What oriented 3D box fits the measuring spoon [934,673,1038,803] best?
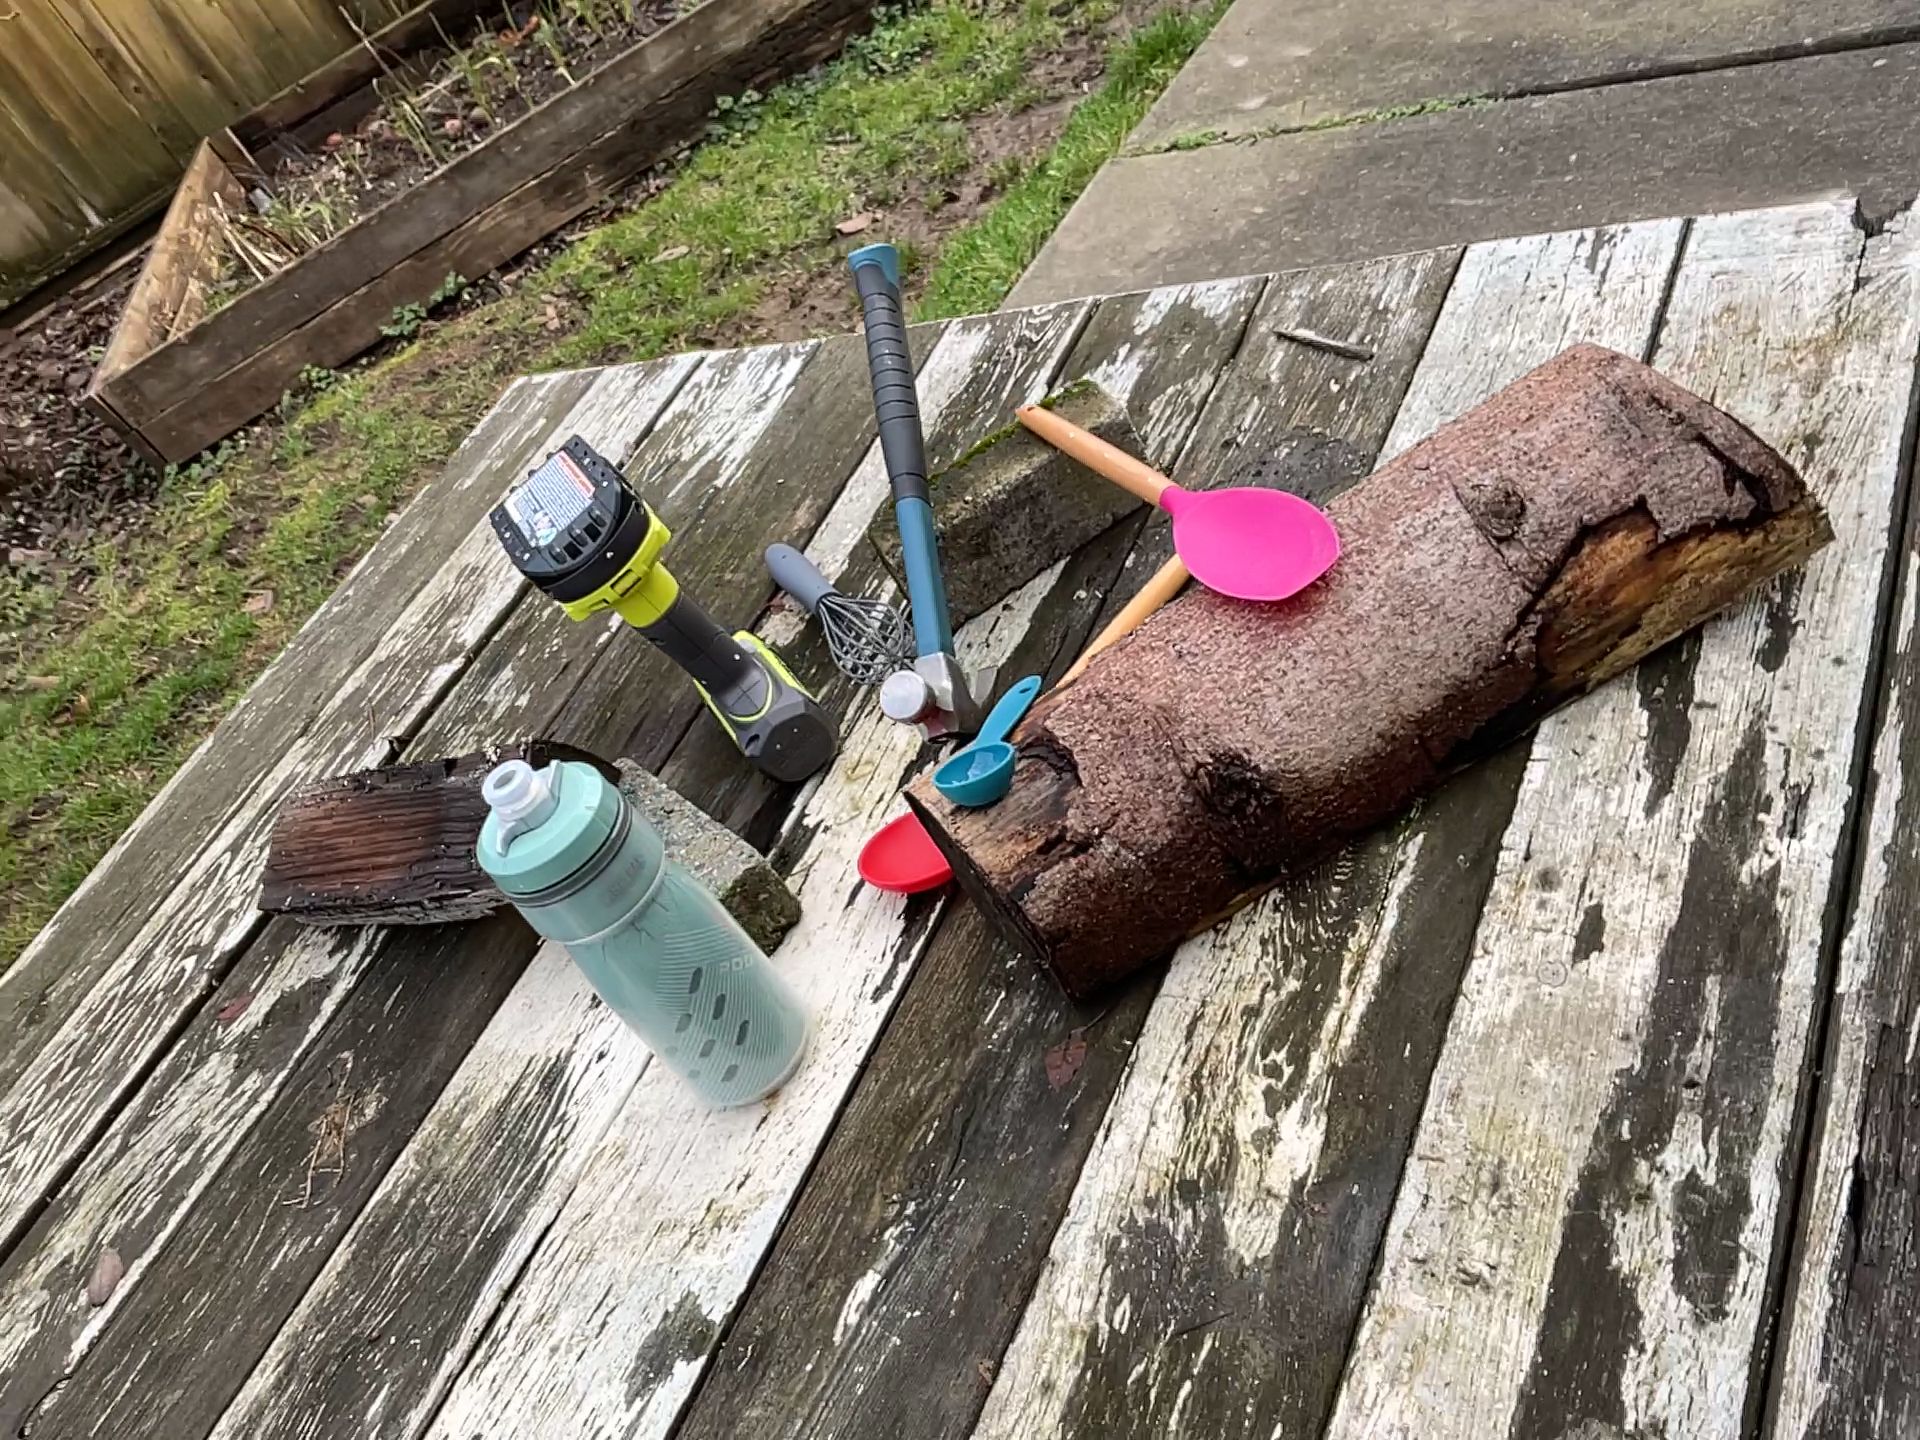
[{"bbox_3d":[0.022,0.010,0.817,0.042,0.021,0.128,-13,20,23],"label":"measuring spoon"}]

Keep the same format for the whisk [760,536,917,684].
[{"bbox_3d":[-0.091,-0.085,1.094,0.055,0.055,0.239,-31,34,-12],"label":"whisk"}]

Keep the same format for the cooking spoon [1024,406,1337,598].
[{"bbox_3d":[0.109,-0.133,0.906,0.069,0.017,0.319,-37,34,-5],"label":"cooking spoon"}]

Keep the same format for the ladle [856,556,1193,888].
[{"bbox_3d":[0.057,-0.010,0.939,0.315,0.031,0.069,-46,38,-21],"label":"ladle"}]

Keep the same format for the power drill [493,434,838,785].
[{"bbox_3d":[-0.183,-0.068,1.006,0.080,0.222,0.171,-43,38,-2],"label":"power drill"}]

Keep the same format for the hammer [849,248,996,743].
[{"bbox_3d":[-0.031,-0.145,0.984,0.033,0.128,0.331,-14,73,18],"label":"hammer"}]
